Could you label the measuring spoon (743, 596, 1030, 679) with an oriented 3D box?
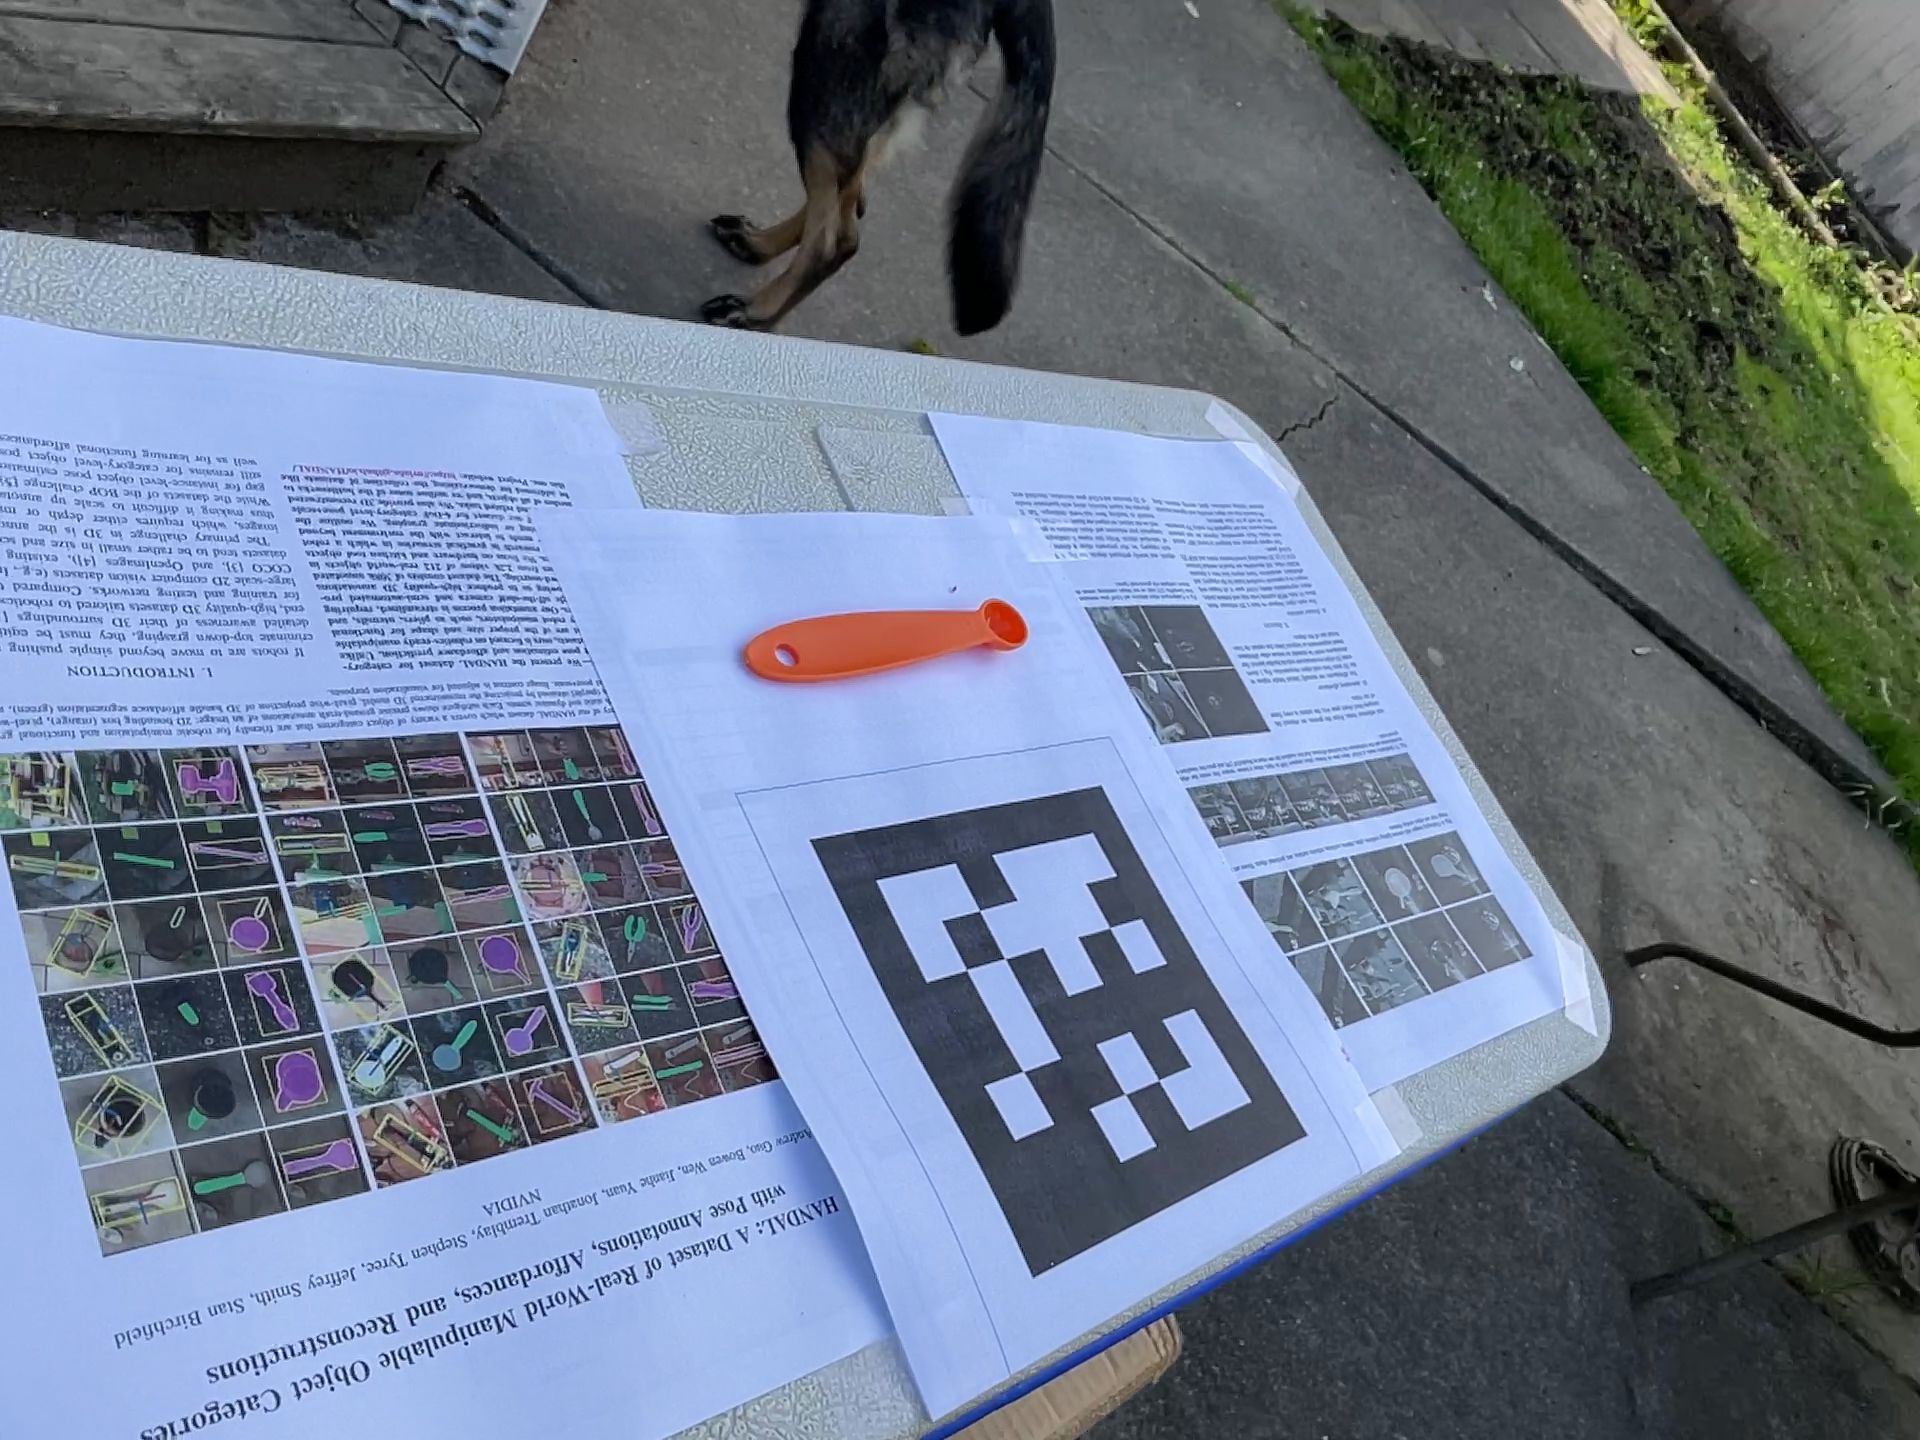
[{"bbox_3d":[-0.022,-0.024,0.500,0.117,0.011,0.021,-11,66,-44],"label":"measuring spoon"}]
